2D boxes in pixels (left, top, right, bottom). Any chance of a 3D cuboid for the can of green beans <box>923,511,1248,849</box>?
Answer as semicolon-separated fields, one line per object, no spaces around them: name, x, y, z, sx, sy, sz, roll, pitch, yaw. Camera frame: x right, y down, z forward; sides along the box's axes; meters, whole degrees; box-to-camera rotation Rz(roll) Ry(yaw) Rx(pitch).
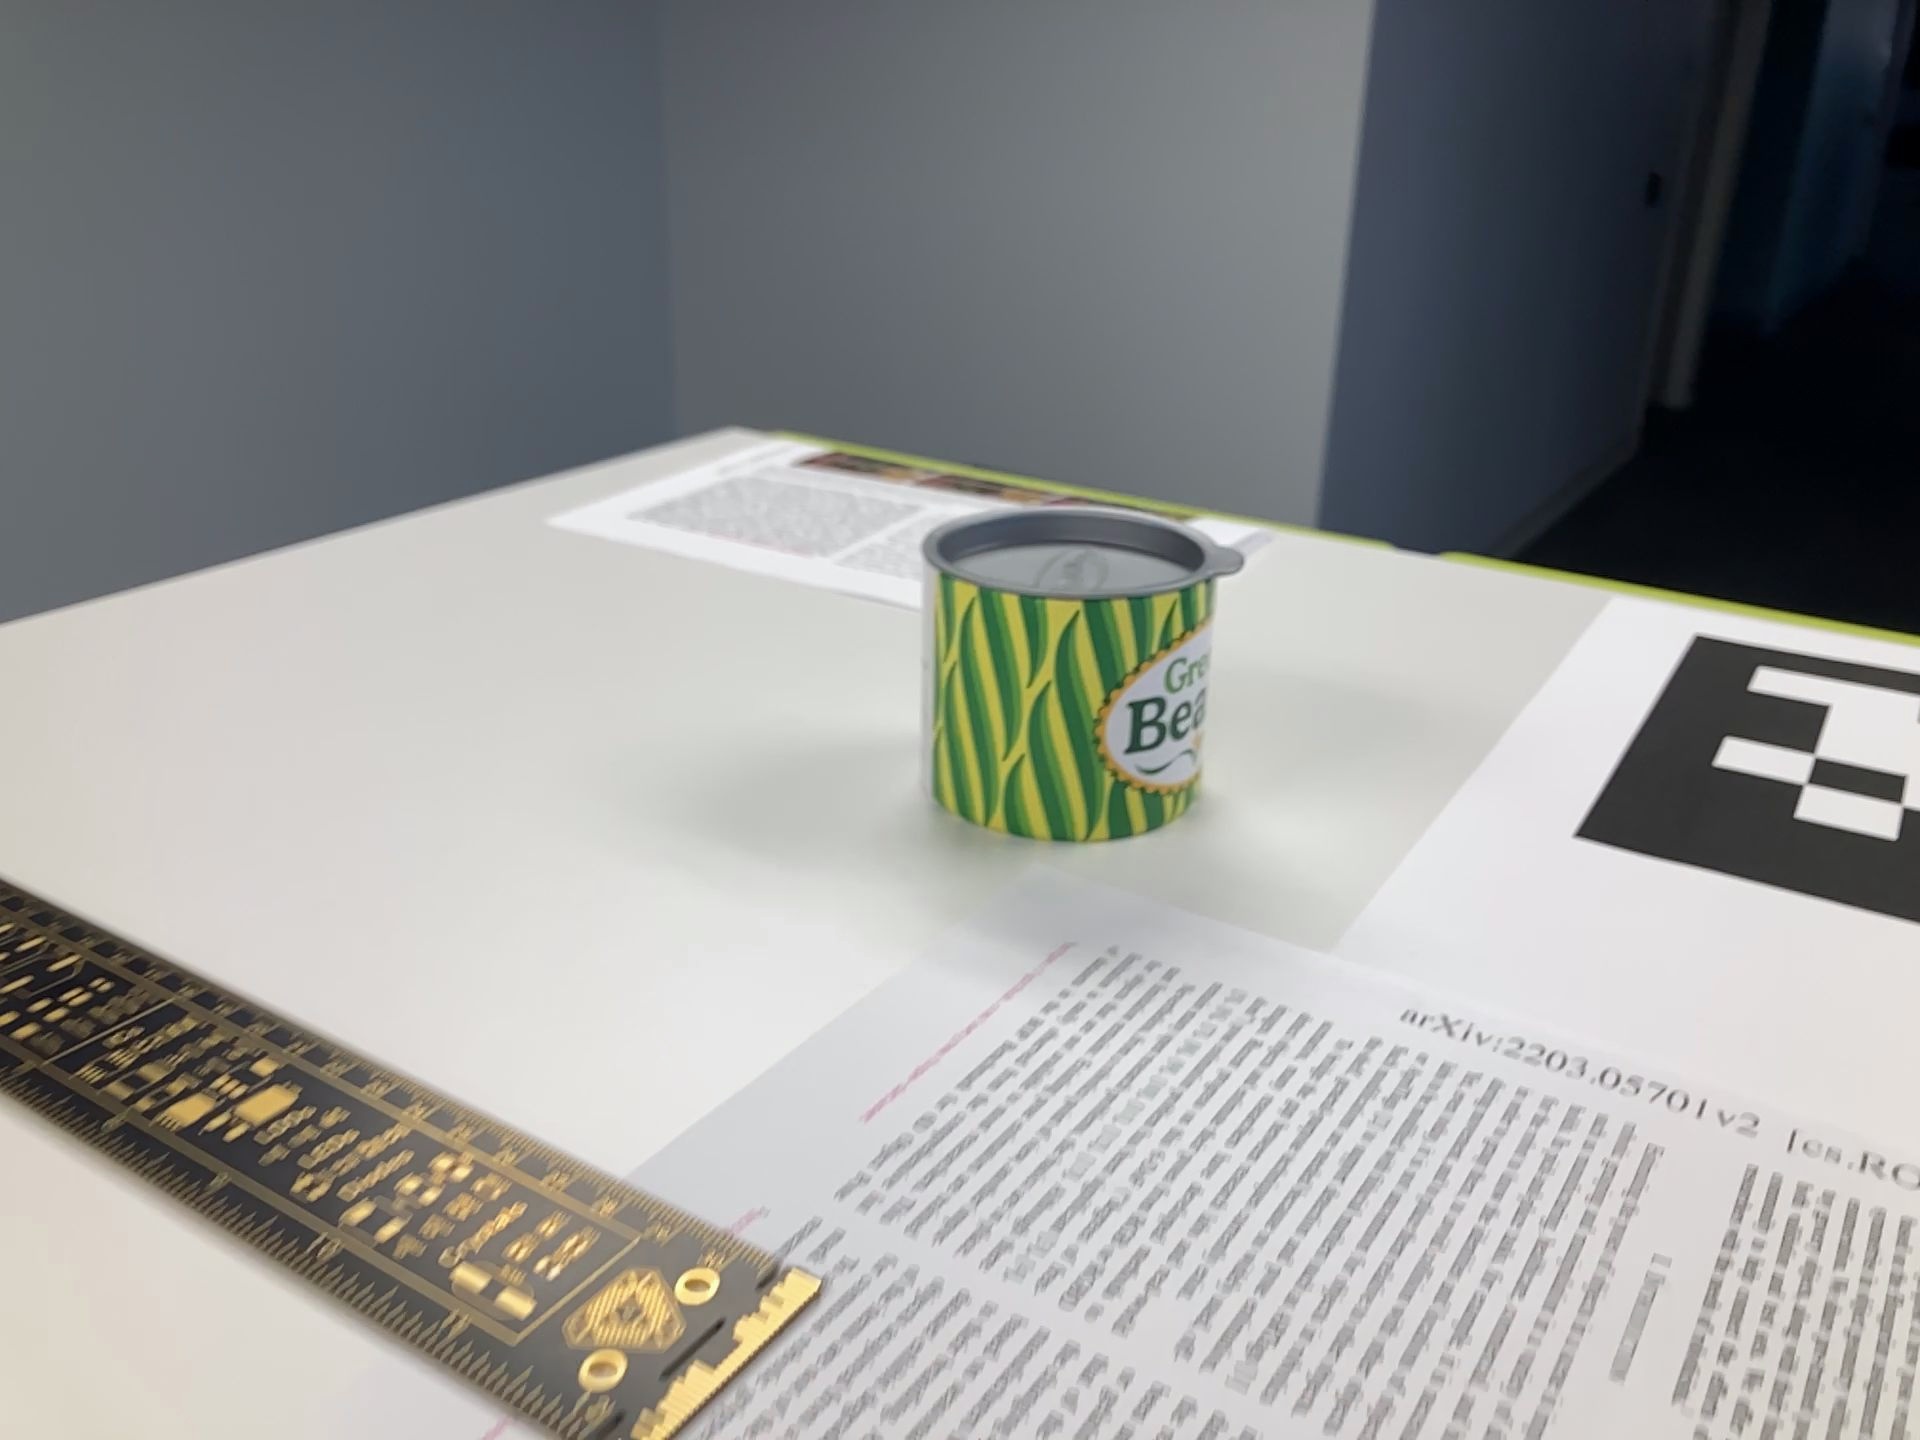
can of green beans;0.024;-0.011;0.364;0.071;0.058;0.071;1;23;0
